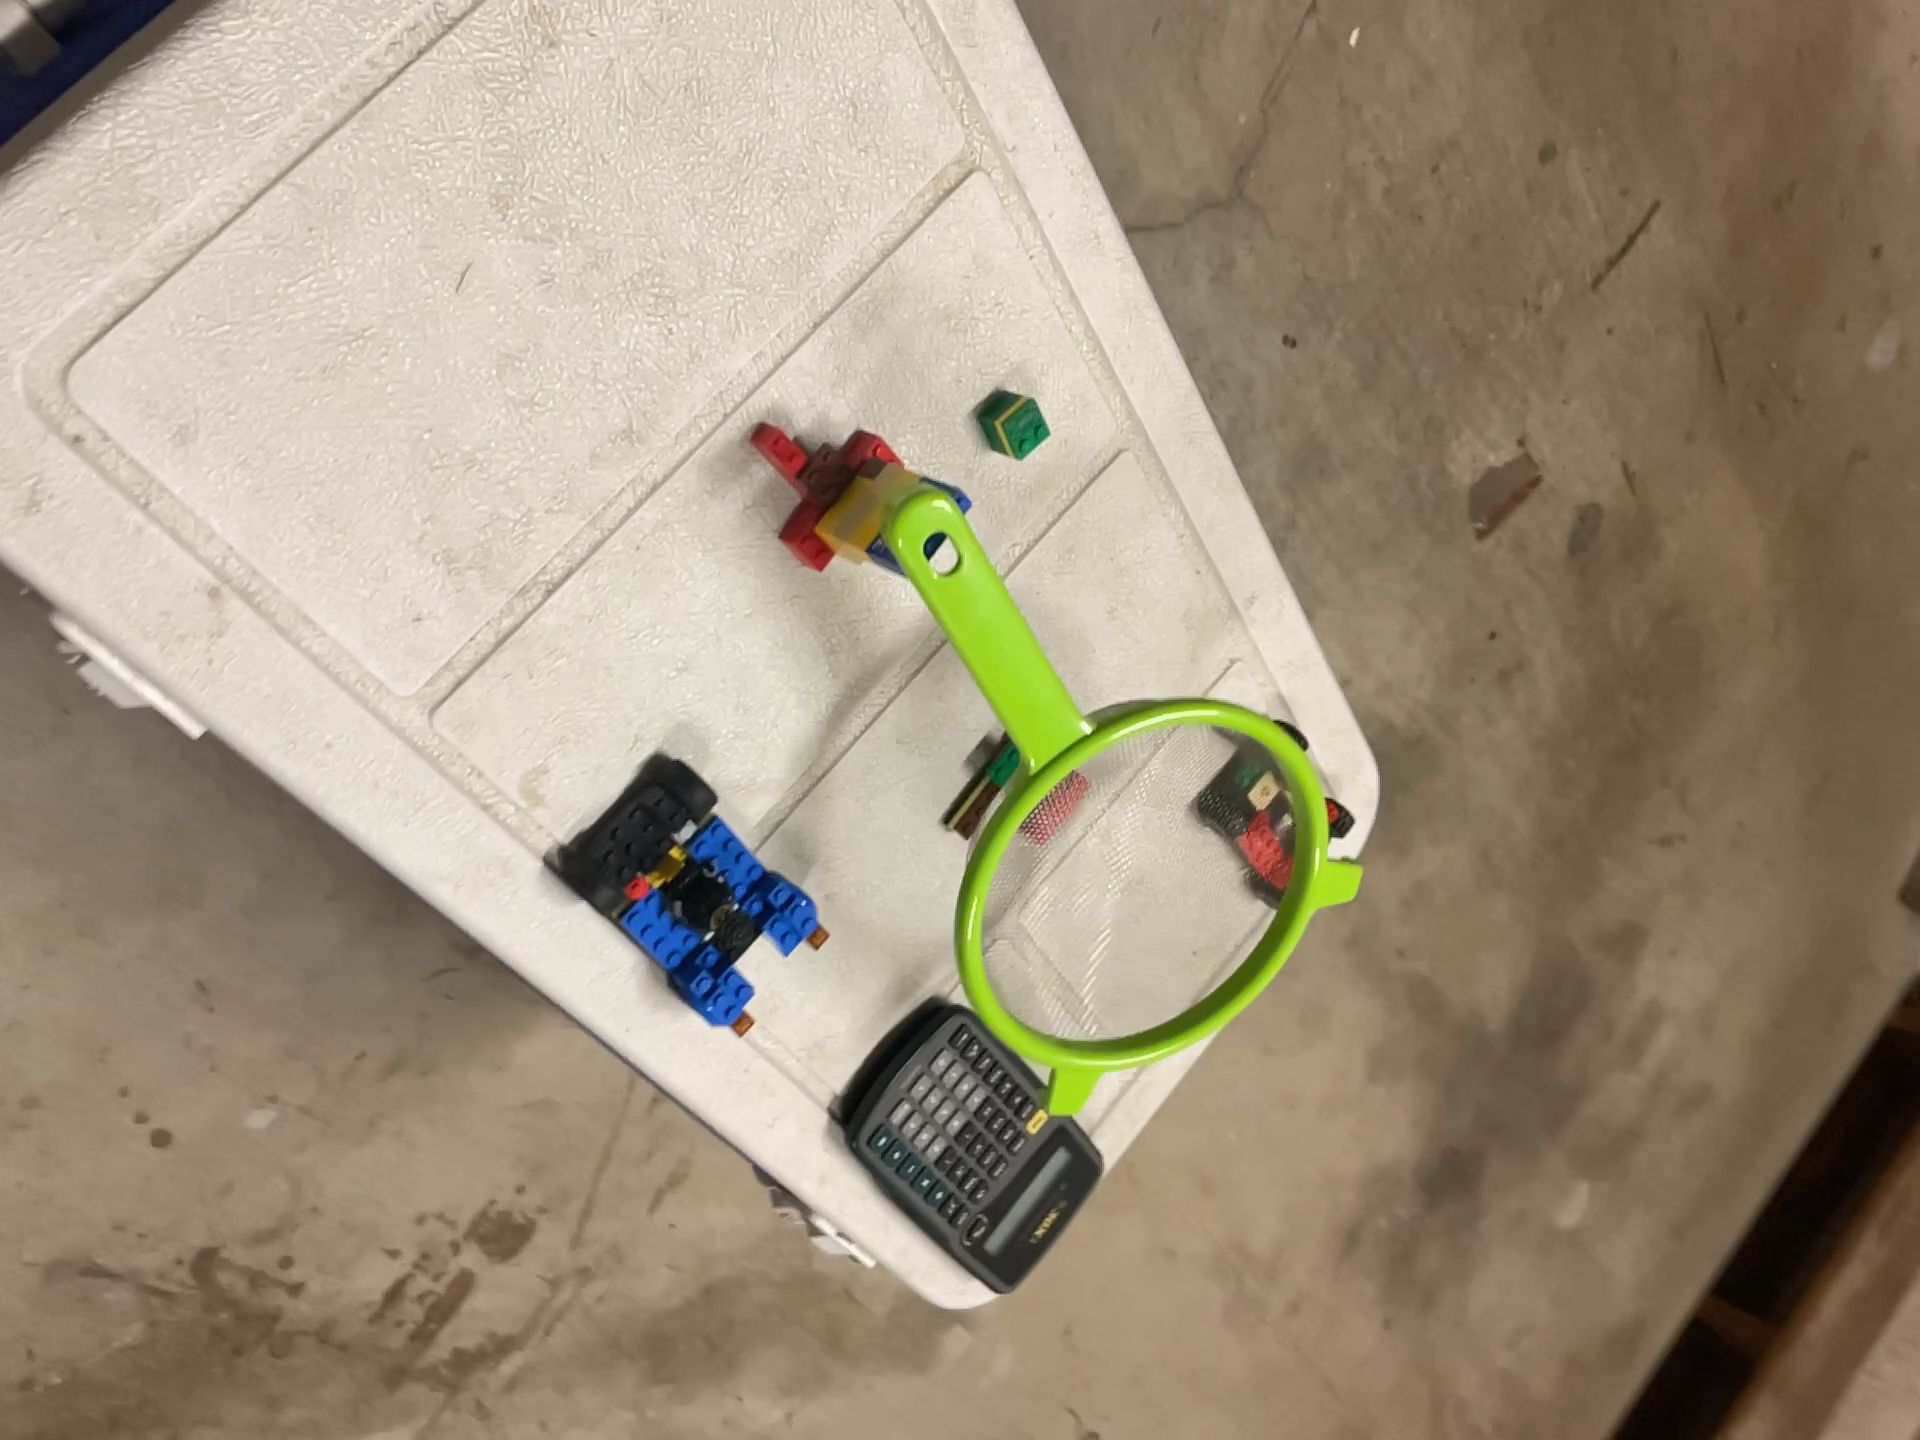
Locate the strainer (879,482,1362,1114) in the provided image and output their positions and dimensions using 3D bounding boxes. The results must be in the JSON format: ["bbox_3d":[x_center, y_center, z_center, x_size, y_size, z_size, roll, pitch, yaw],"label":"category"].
[{"bbox_3d":[0.032,0.014,0.570,0.151,0.069,0.256,-37,122,-6],"label":"strainer"}]
